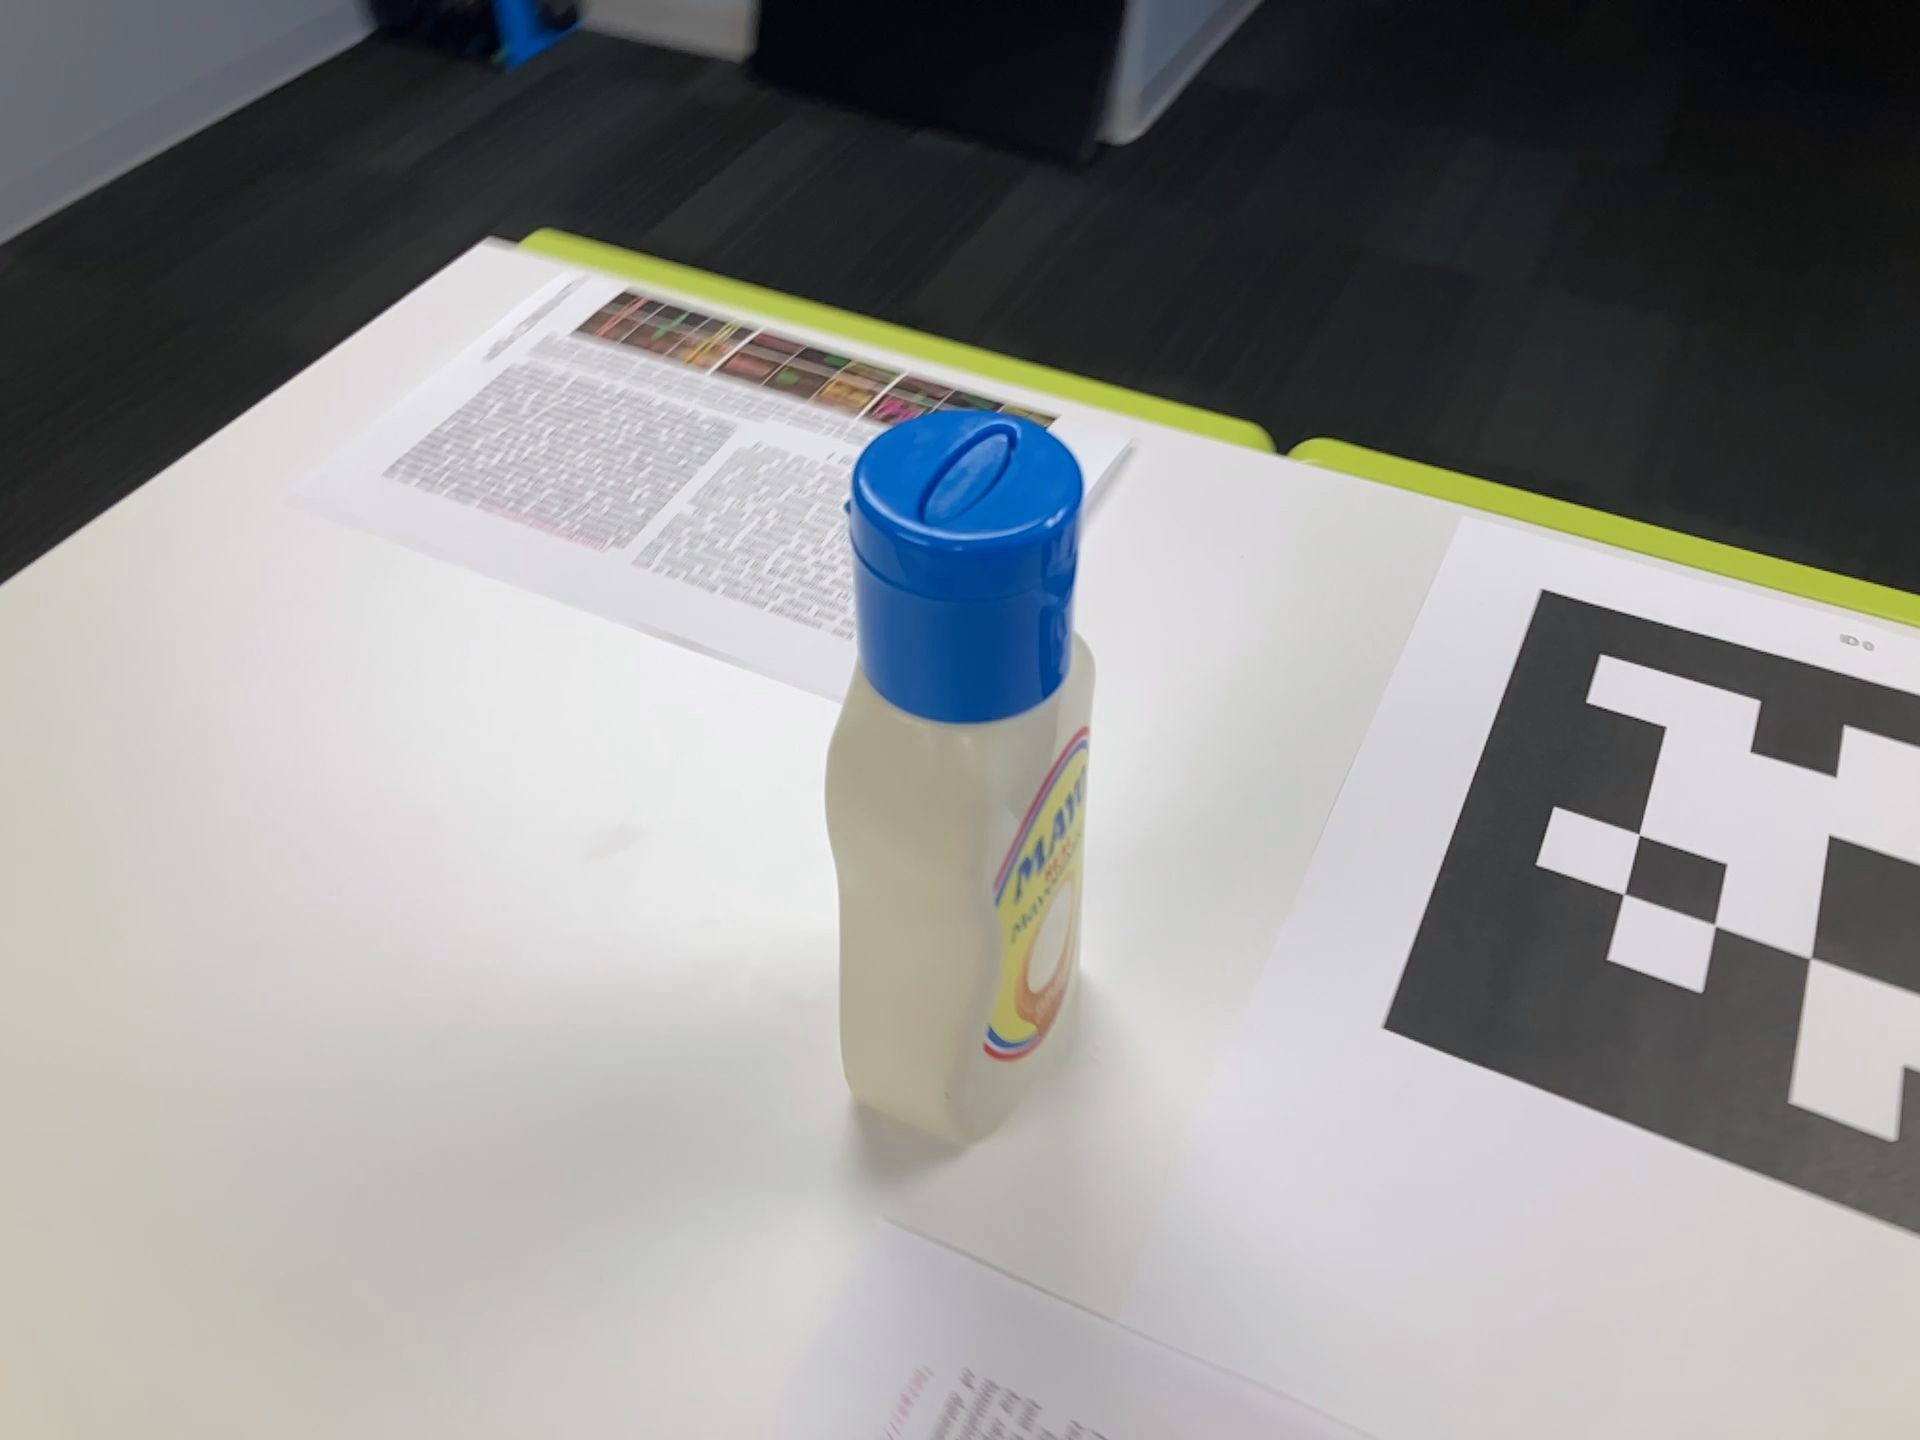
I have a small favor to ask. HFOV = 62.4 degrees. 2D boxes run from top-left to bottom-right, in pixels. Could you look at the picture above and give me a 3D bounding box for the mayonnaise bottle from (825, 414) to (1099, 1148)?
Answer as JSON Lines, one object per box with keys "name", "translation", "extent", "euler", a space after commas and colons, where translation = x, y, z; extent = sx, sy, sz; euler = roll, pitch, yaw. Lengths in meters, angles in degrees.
{"name": "mayonnaise bottle", "translation": [0.002, 0.015, 0.292], "extent": [0.041, 0.148, 0.065], "euler": [20, 49, 18]}
